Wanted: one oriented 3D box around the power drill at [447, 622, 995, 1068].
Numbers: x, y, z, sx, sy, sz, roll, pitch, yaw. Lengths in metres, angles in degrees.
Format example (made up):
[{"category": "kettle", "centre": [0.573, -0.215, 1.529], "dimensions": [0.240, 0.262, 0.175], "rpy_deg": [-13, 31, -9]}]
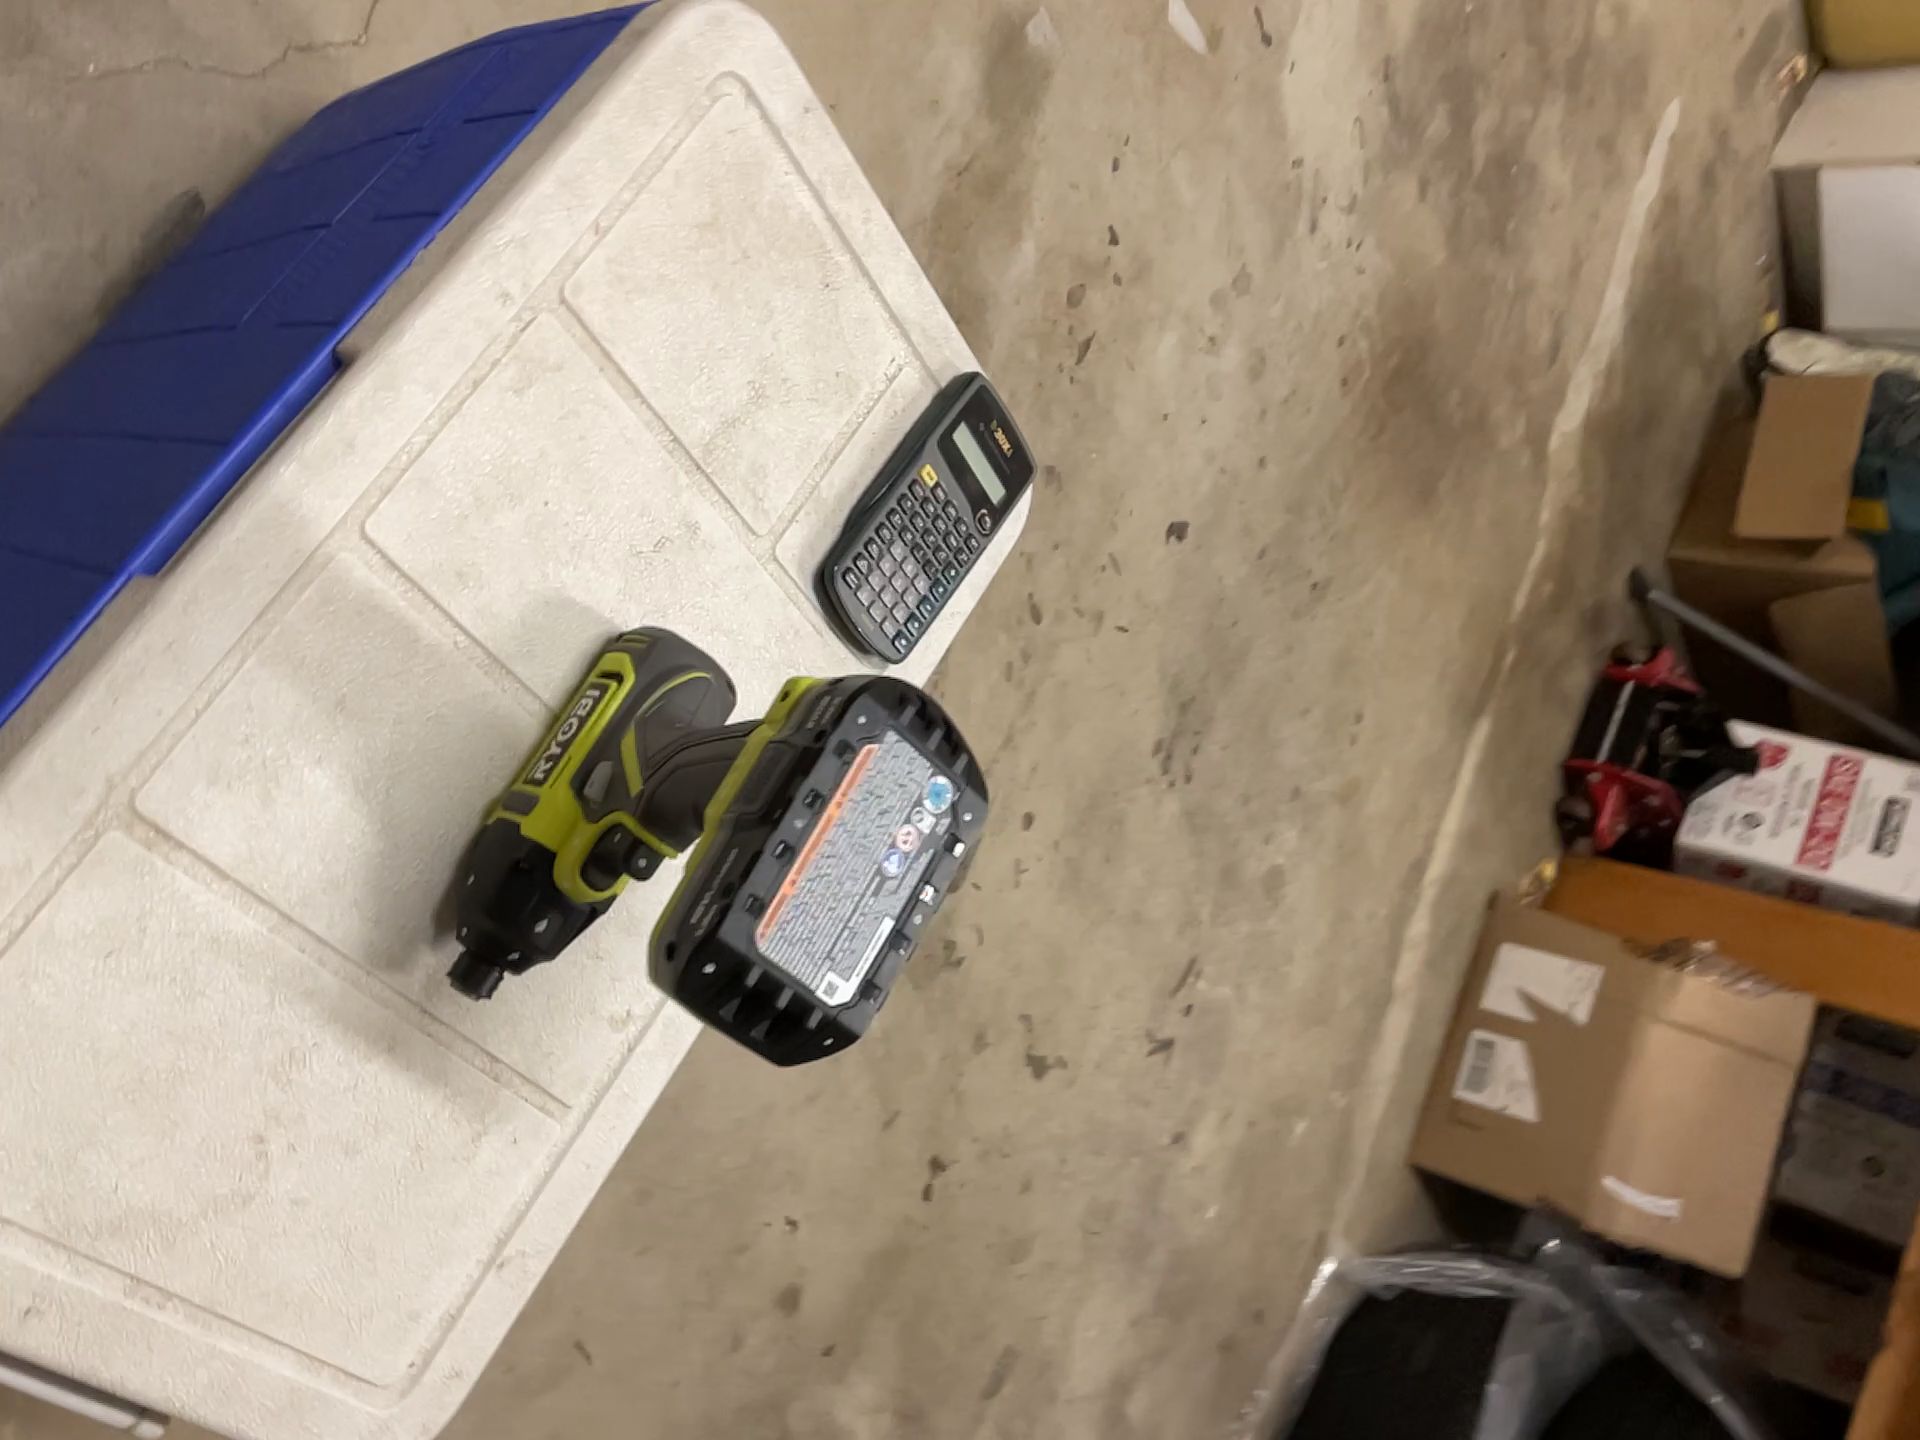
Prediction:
[{"category": "power drill", "centre": [-0.106, 0.047, 0.613], "dimensions": [0.080, 0.223, 0.171], "rpy_deg": [44, 67, -34]}]
